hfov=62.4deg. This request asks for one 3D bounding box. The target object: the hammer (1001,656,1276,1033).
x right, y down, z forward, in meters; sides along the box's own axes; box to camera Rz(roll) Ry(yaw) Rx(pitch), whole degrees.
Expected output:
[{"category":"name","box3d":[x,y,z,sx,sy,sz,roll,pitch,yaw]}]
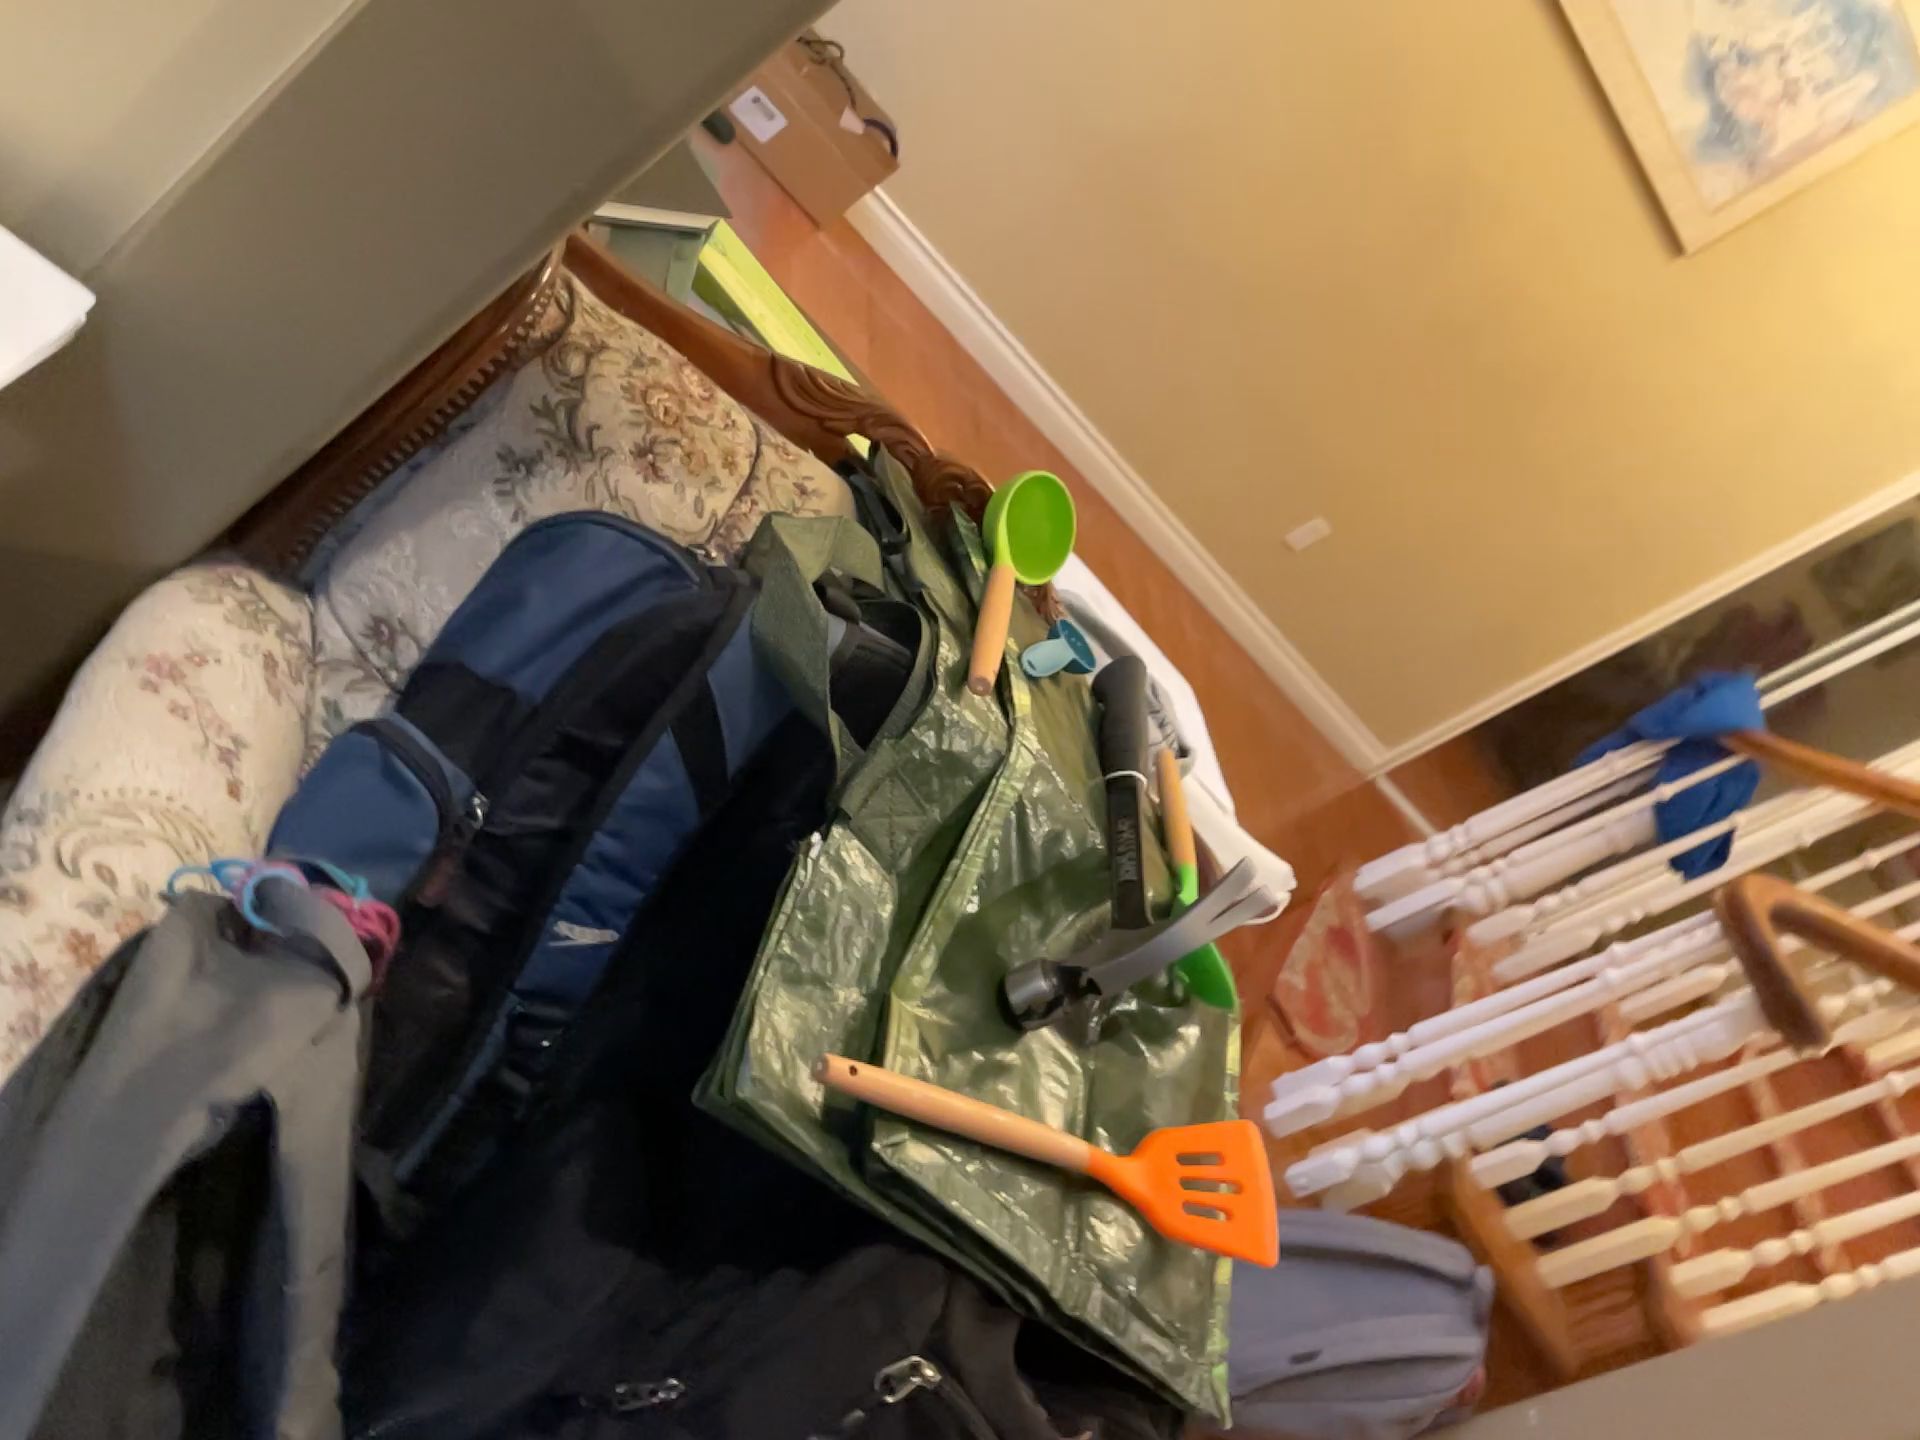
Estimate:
[{"category":"hammer","box3d":[0.108,0.046,1.000,0.036,0.149,0.409,60,16,-19]}]

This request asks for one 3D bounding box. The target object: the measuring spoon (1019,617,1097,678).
[{"category":"measuring spoon","box3d":[0.054,-0.037,0.996,0.042,0.021,0.128,58,23,3]}]

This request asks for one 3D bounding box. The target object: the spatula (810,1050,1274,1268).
[{"category":"spatula","box3d":[0.051,0.208,0.785,0.322,0.041,0.081,31,44,-40]}]

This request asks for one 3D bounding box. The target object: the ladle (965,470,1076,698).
[{"category":"ladle","box3d":[0.035,-0.081,0.964,0.320,0.062,0.078,-77,156,-66]}]

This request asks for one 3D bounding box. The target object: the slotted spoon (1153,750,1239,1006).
[{"category":"slotted spoon","box3d":[0.148,0.091,1.057,0.314,0.031,0.070,-85,153,-66]}]
